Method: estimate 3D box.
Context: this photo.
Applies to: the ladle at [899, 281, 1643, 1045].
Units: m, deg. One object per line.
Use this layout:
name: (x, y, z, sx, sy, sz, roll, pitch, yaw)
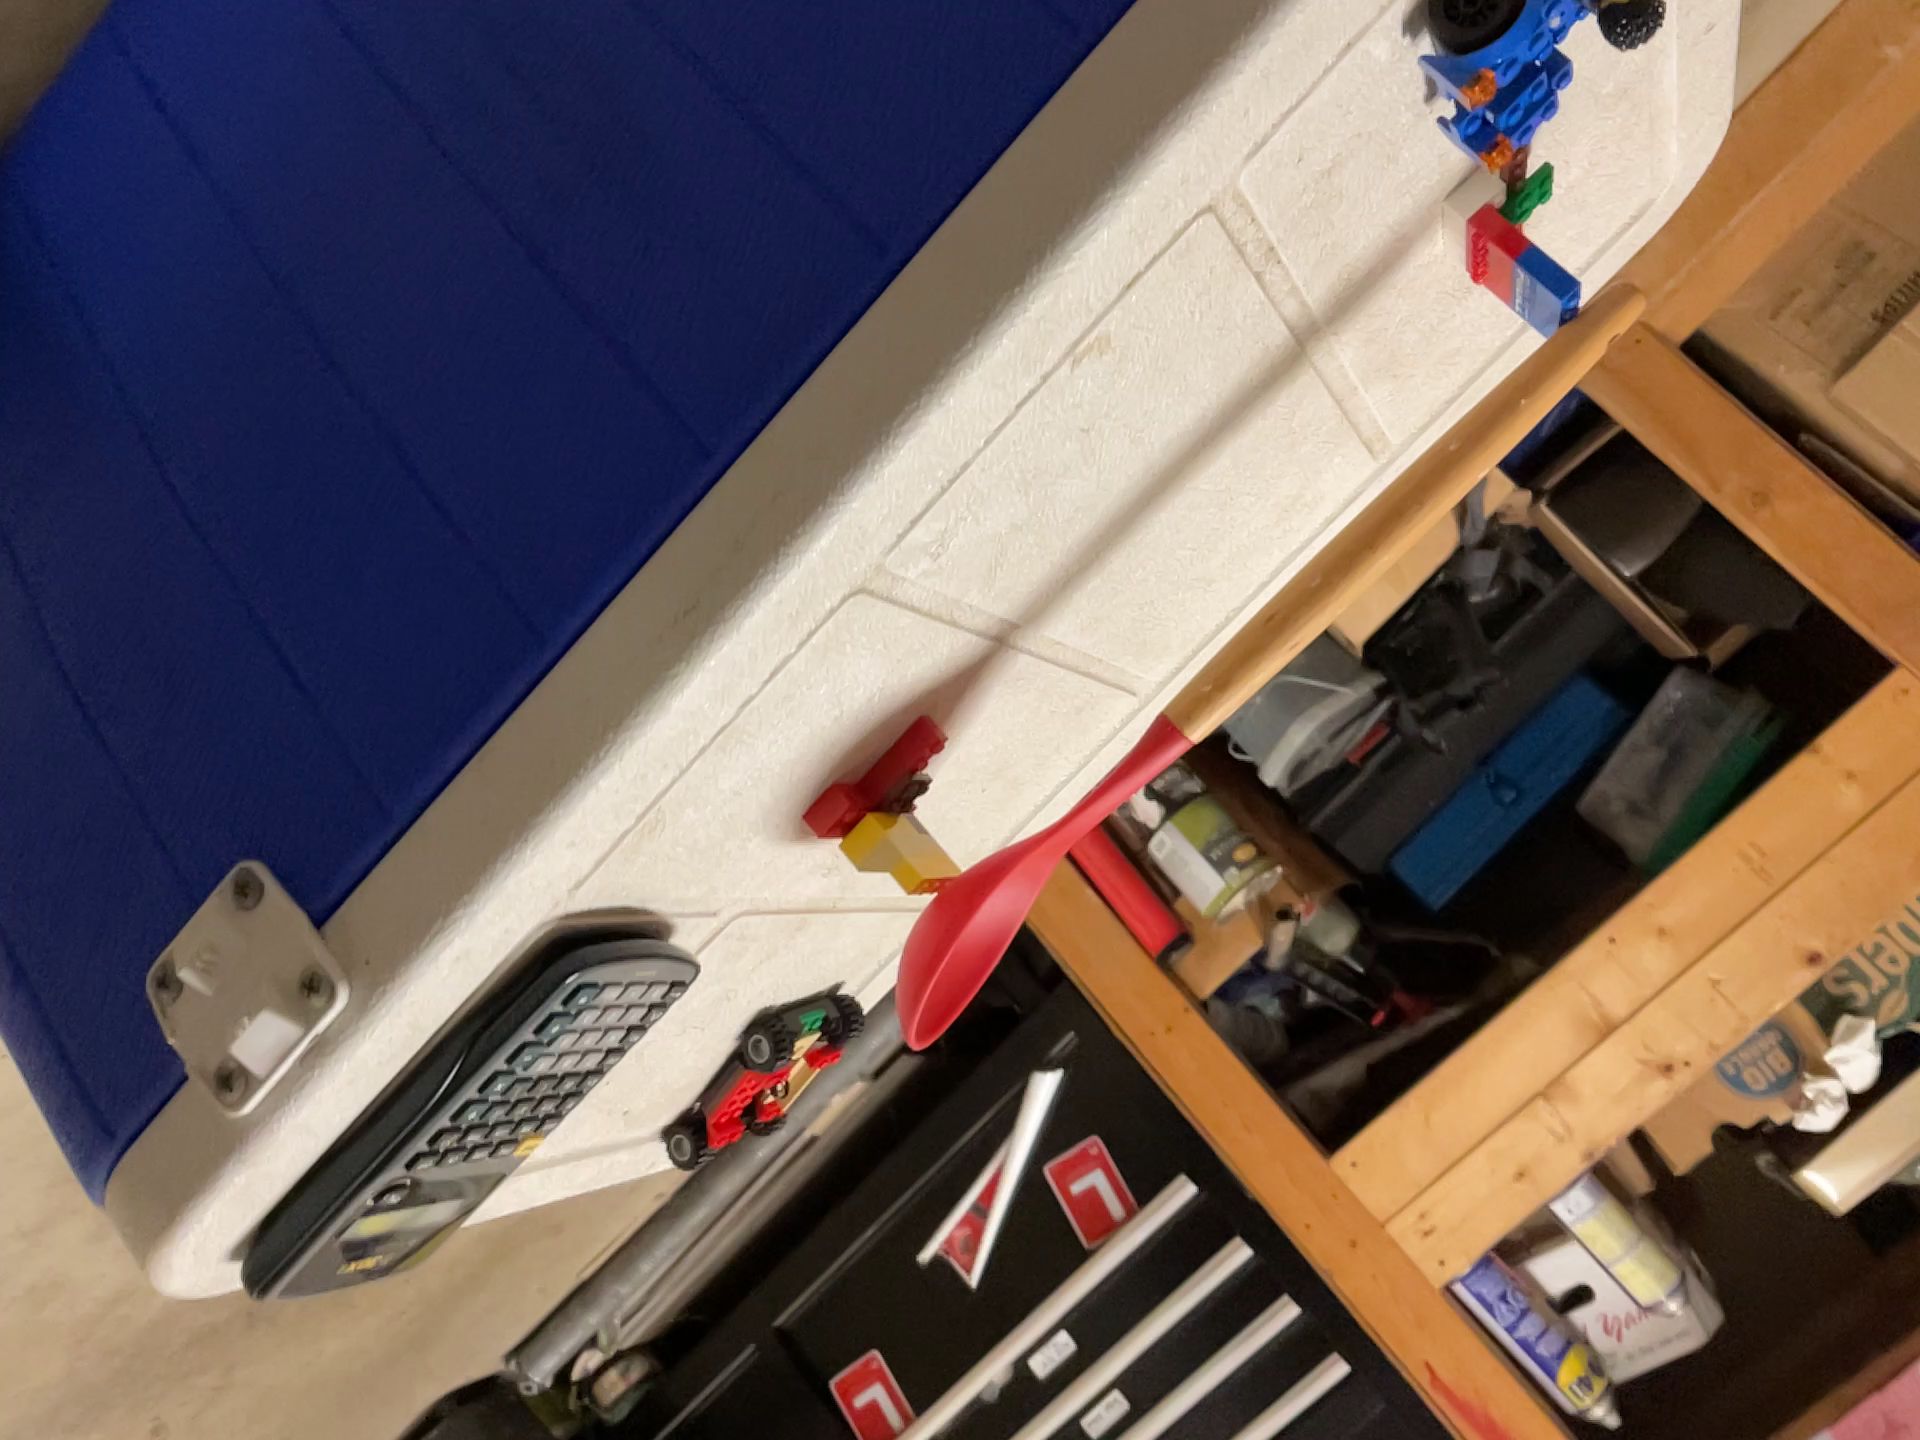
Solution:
ladle: (0.088, -0.016, 0.494, 0.315, 0.031, 0.069, -45, 165, 9)
